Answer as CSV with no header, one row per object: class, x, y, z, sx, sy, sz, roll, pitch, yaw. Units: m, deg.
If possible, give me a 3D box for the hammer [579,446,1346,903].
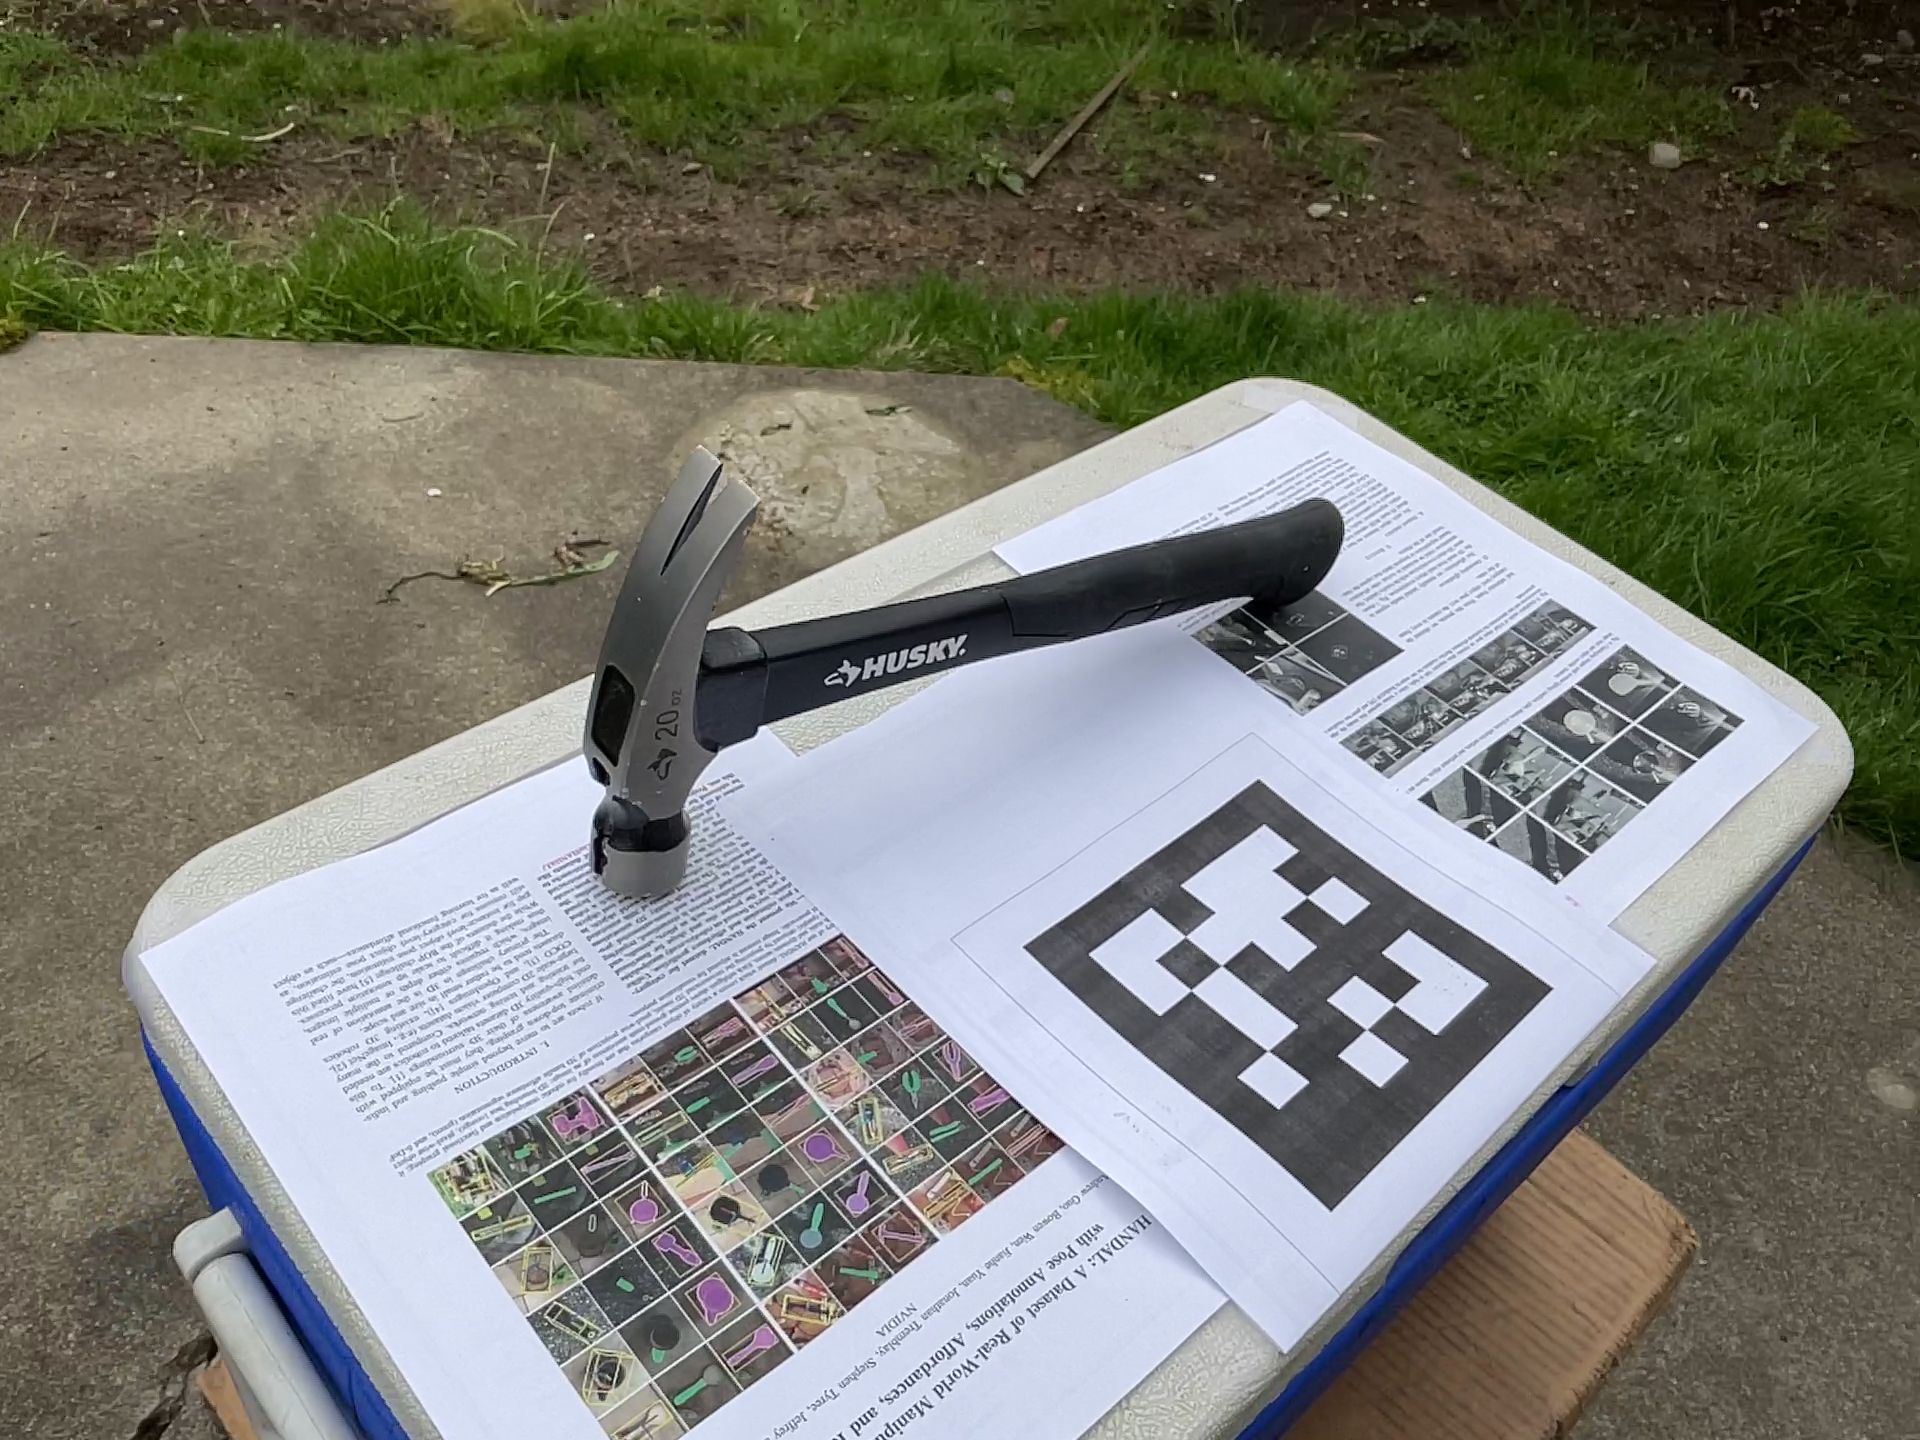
hammer,0.024,-0.042,0.573,0.334,0.146,0.035,-16,44,-36
